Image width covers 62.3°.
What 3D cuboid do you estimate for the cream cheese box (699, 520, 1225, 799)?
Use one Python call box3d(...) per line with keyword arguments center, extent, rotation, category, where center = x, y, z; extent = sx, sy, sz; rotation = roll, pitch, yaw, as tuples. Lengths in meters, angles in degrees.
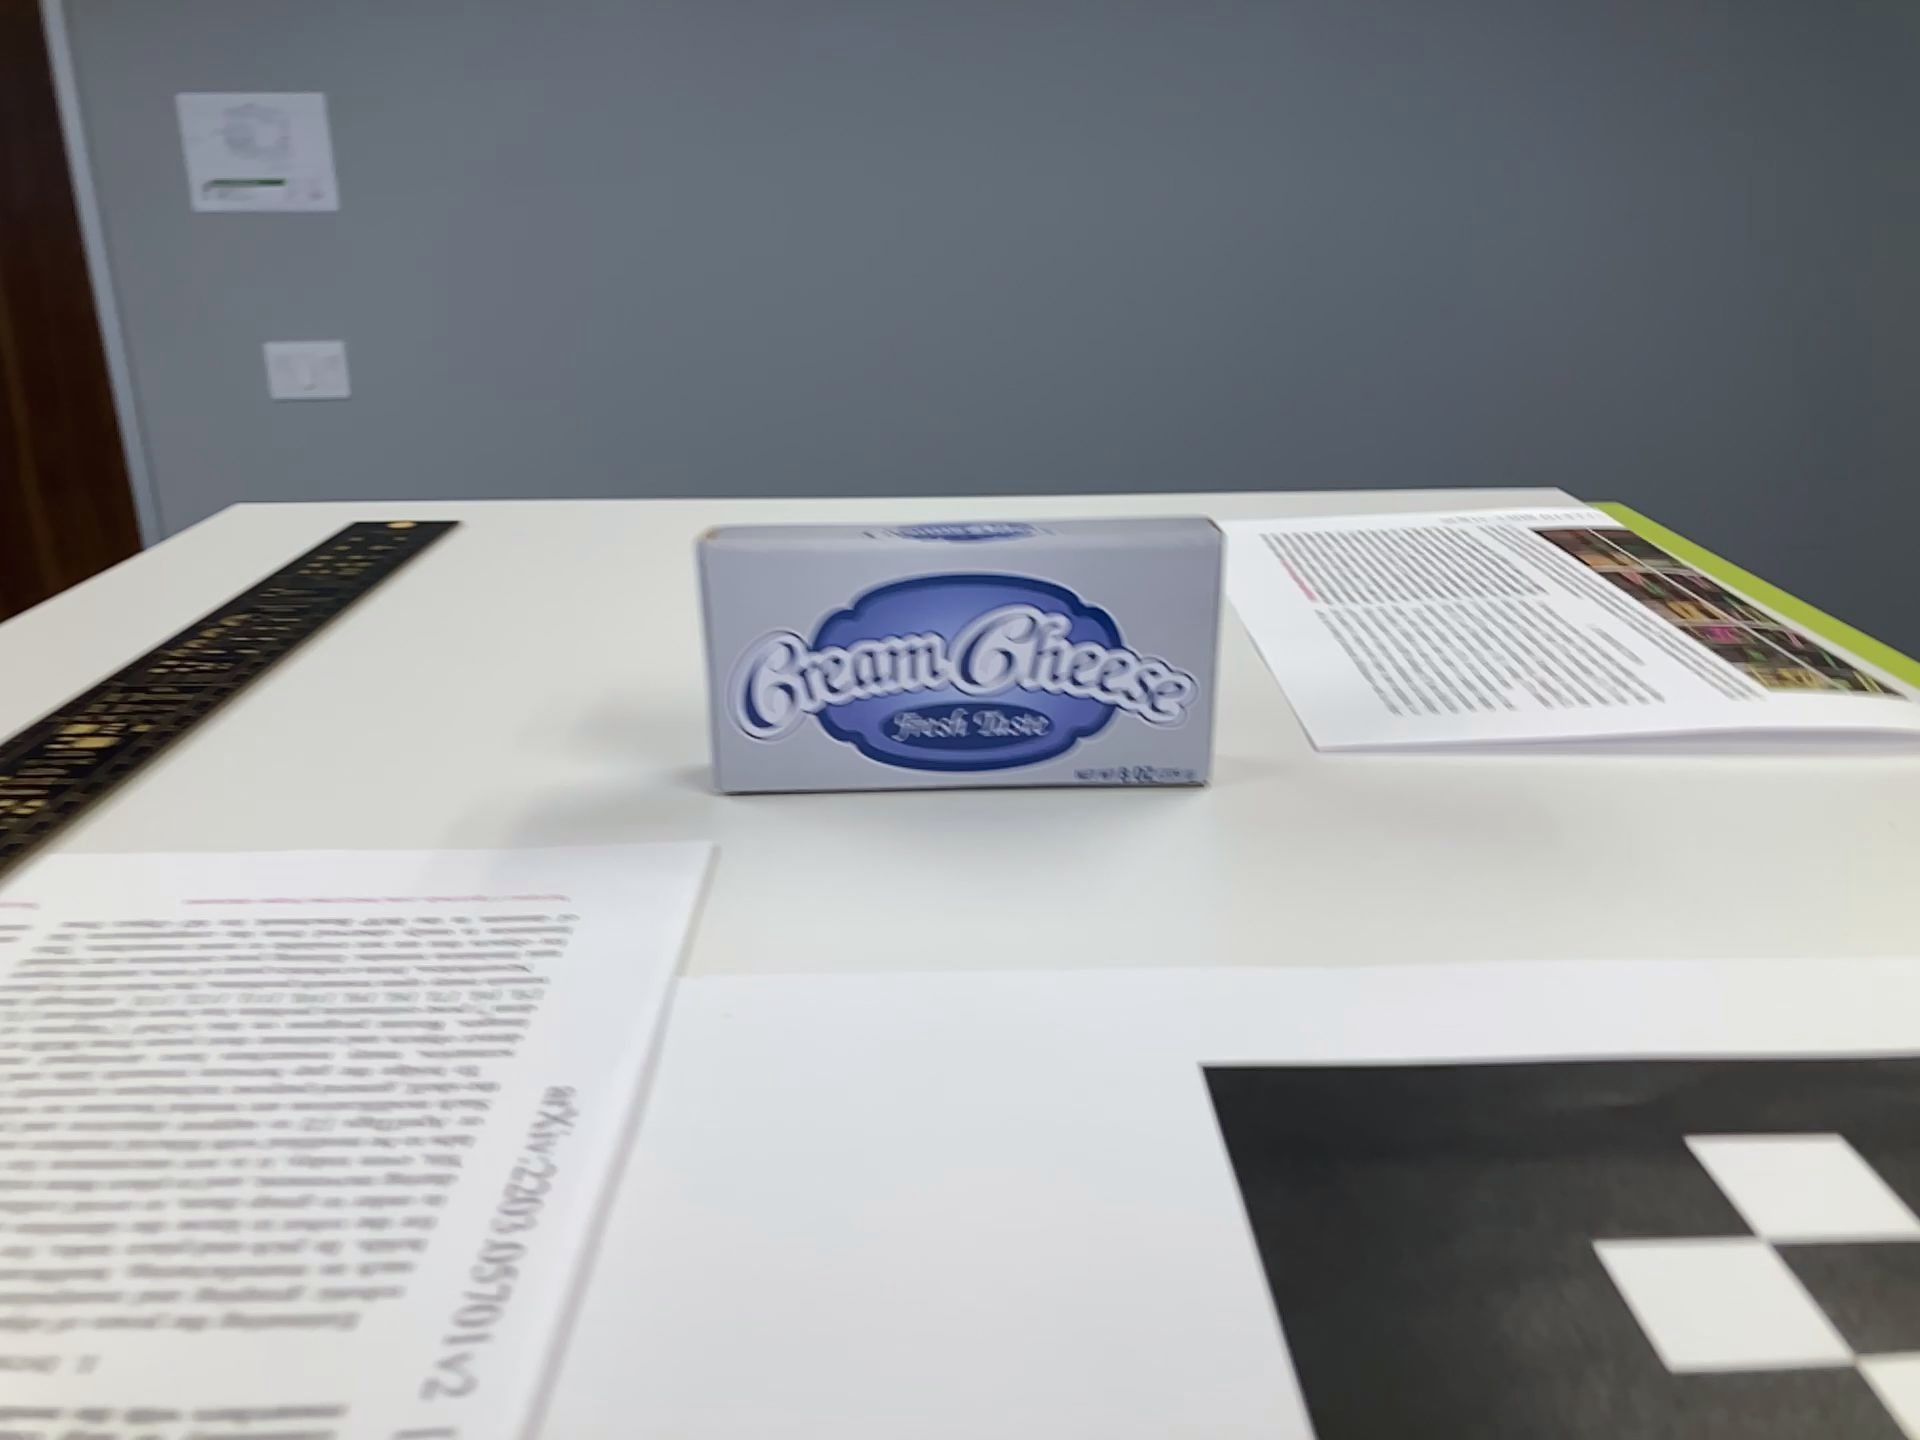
box3d(center=(0.001, -0.013, 0.326), extent=(0.104, 0.053, 0.024), rotation=(-1, 17, -1), category="cream cheese box")
